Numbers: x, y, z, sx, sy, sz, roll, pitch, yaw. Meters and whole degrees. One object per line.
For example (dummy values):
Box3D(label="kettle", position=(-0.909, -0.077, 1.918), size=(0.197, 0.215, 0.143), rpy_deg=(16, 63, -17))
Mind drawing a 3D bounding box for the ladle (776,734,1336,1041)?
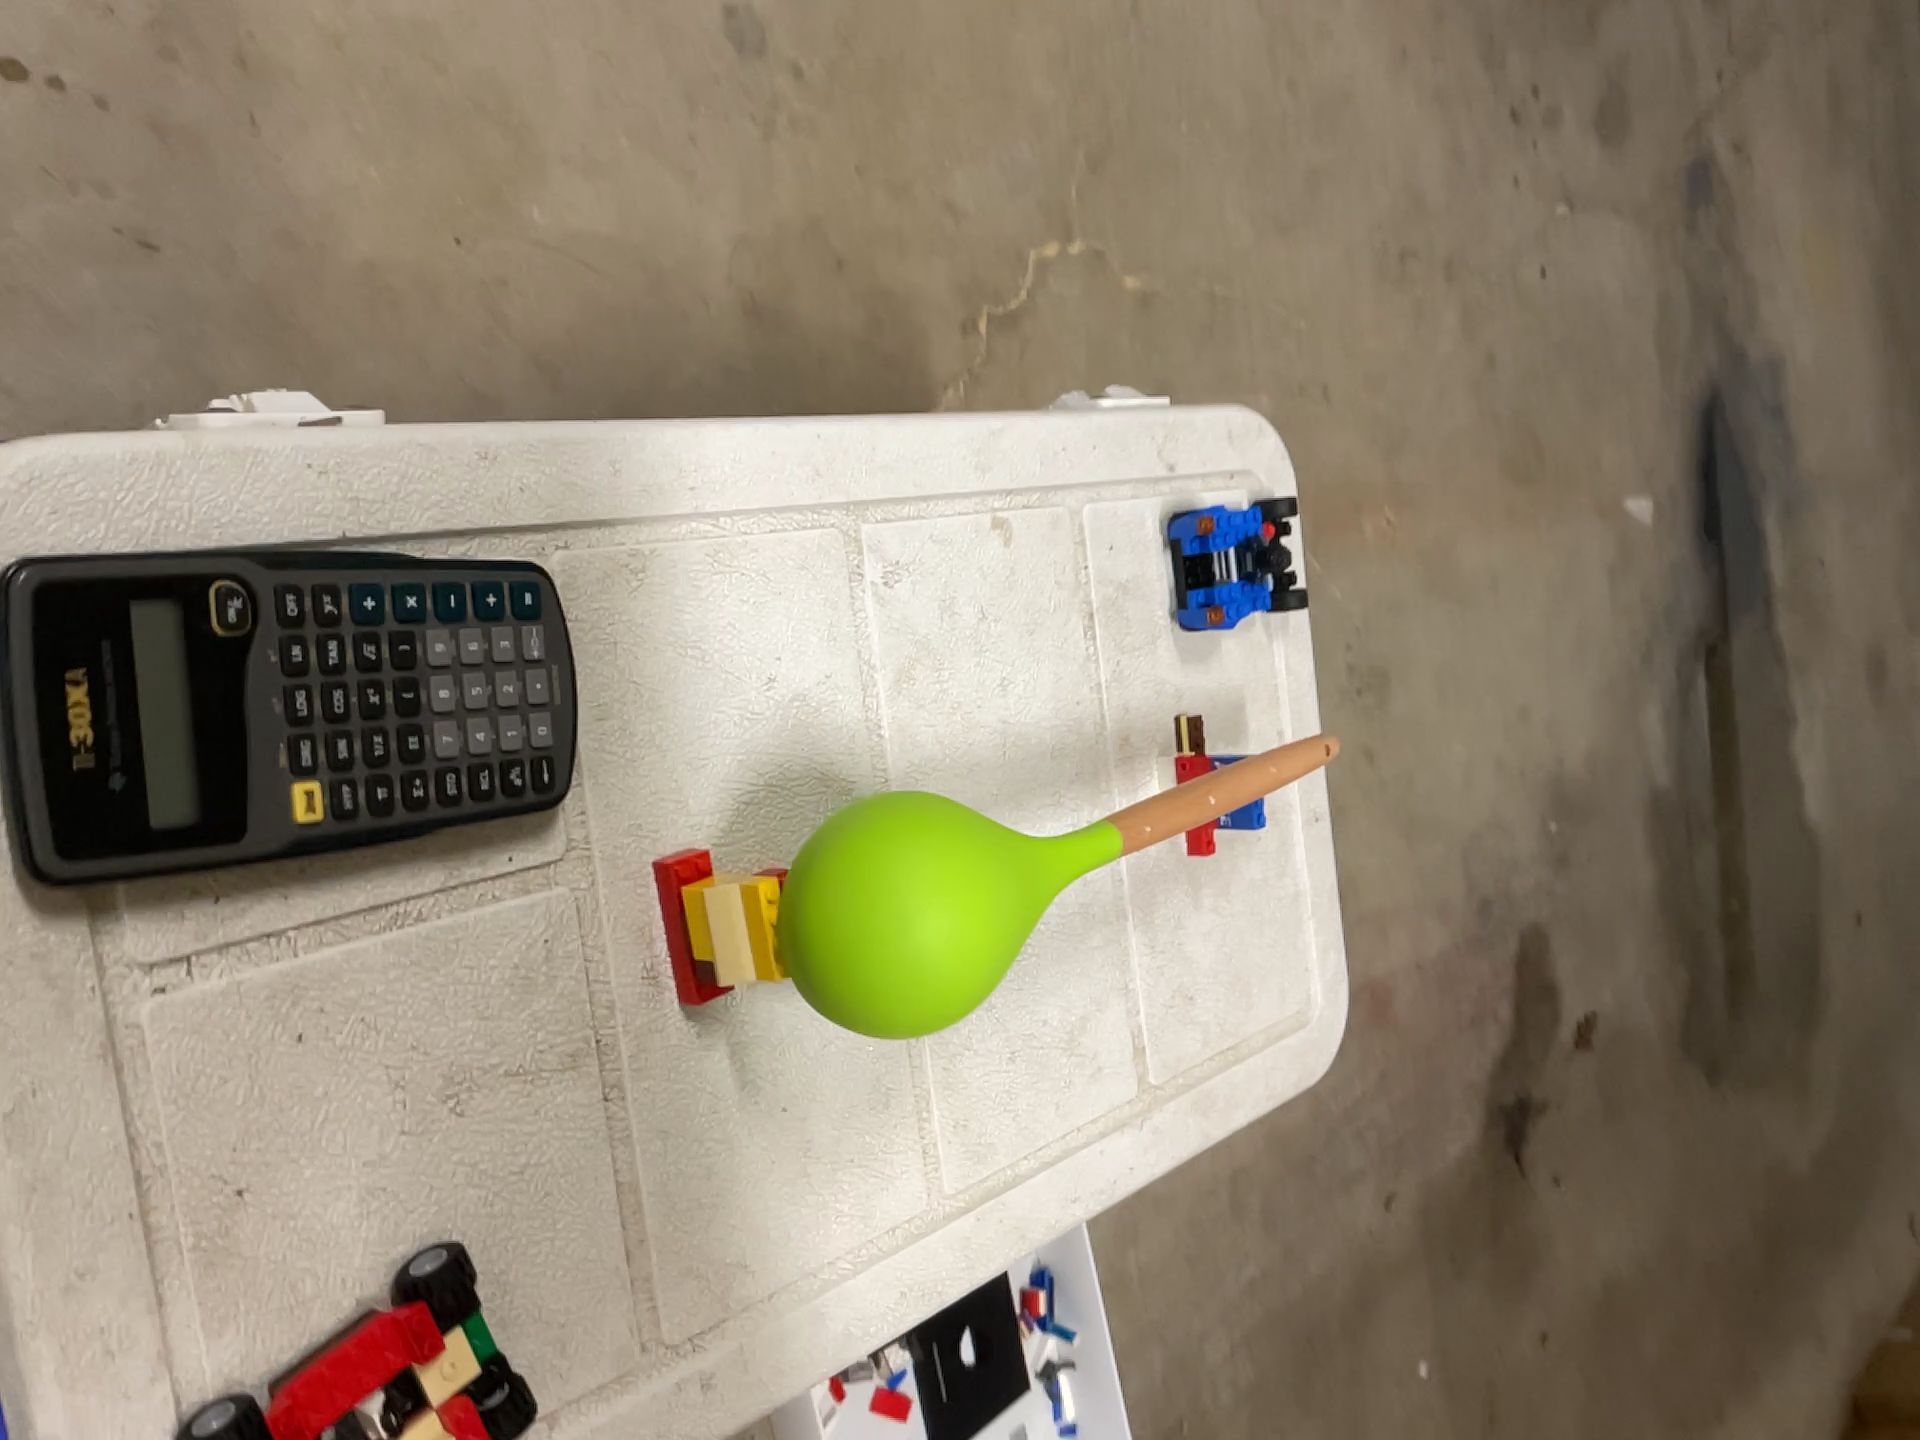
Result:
Box3D(label="ladle", position=(0.057, 0.040, 0.595), size=(0.320, 0.062, 0.078), rpy_deg=(-16, 94, -52))
